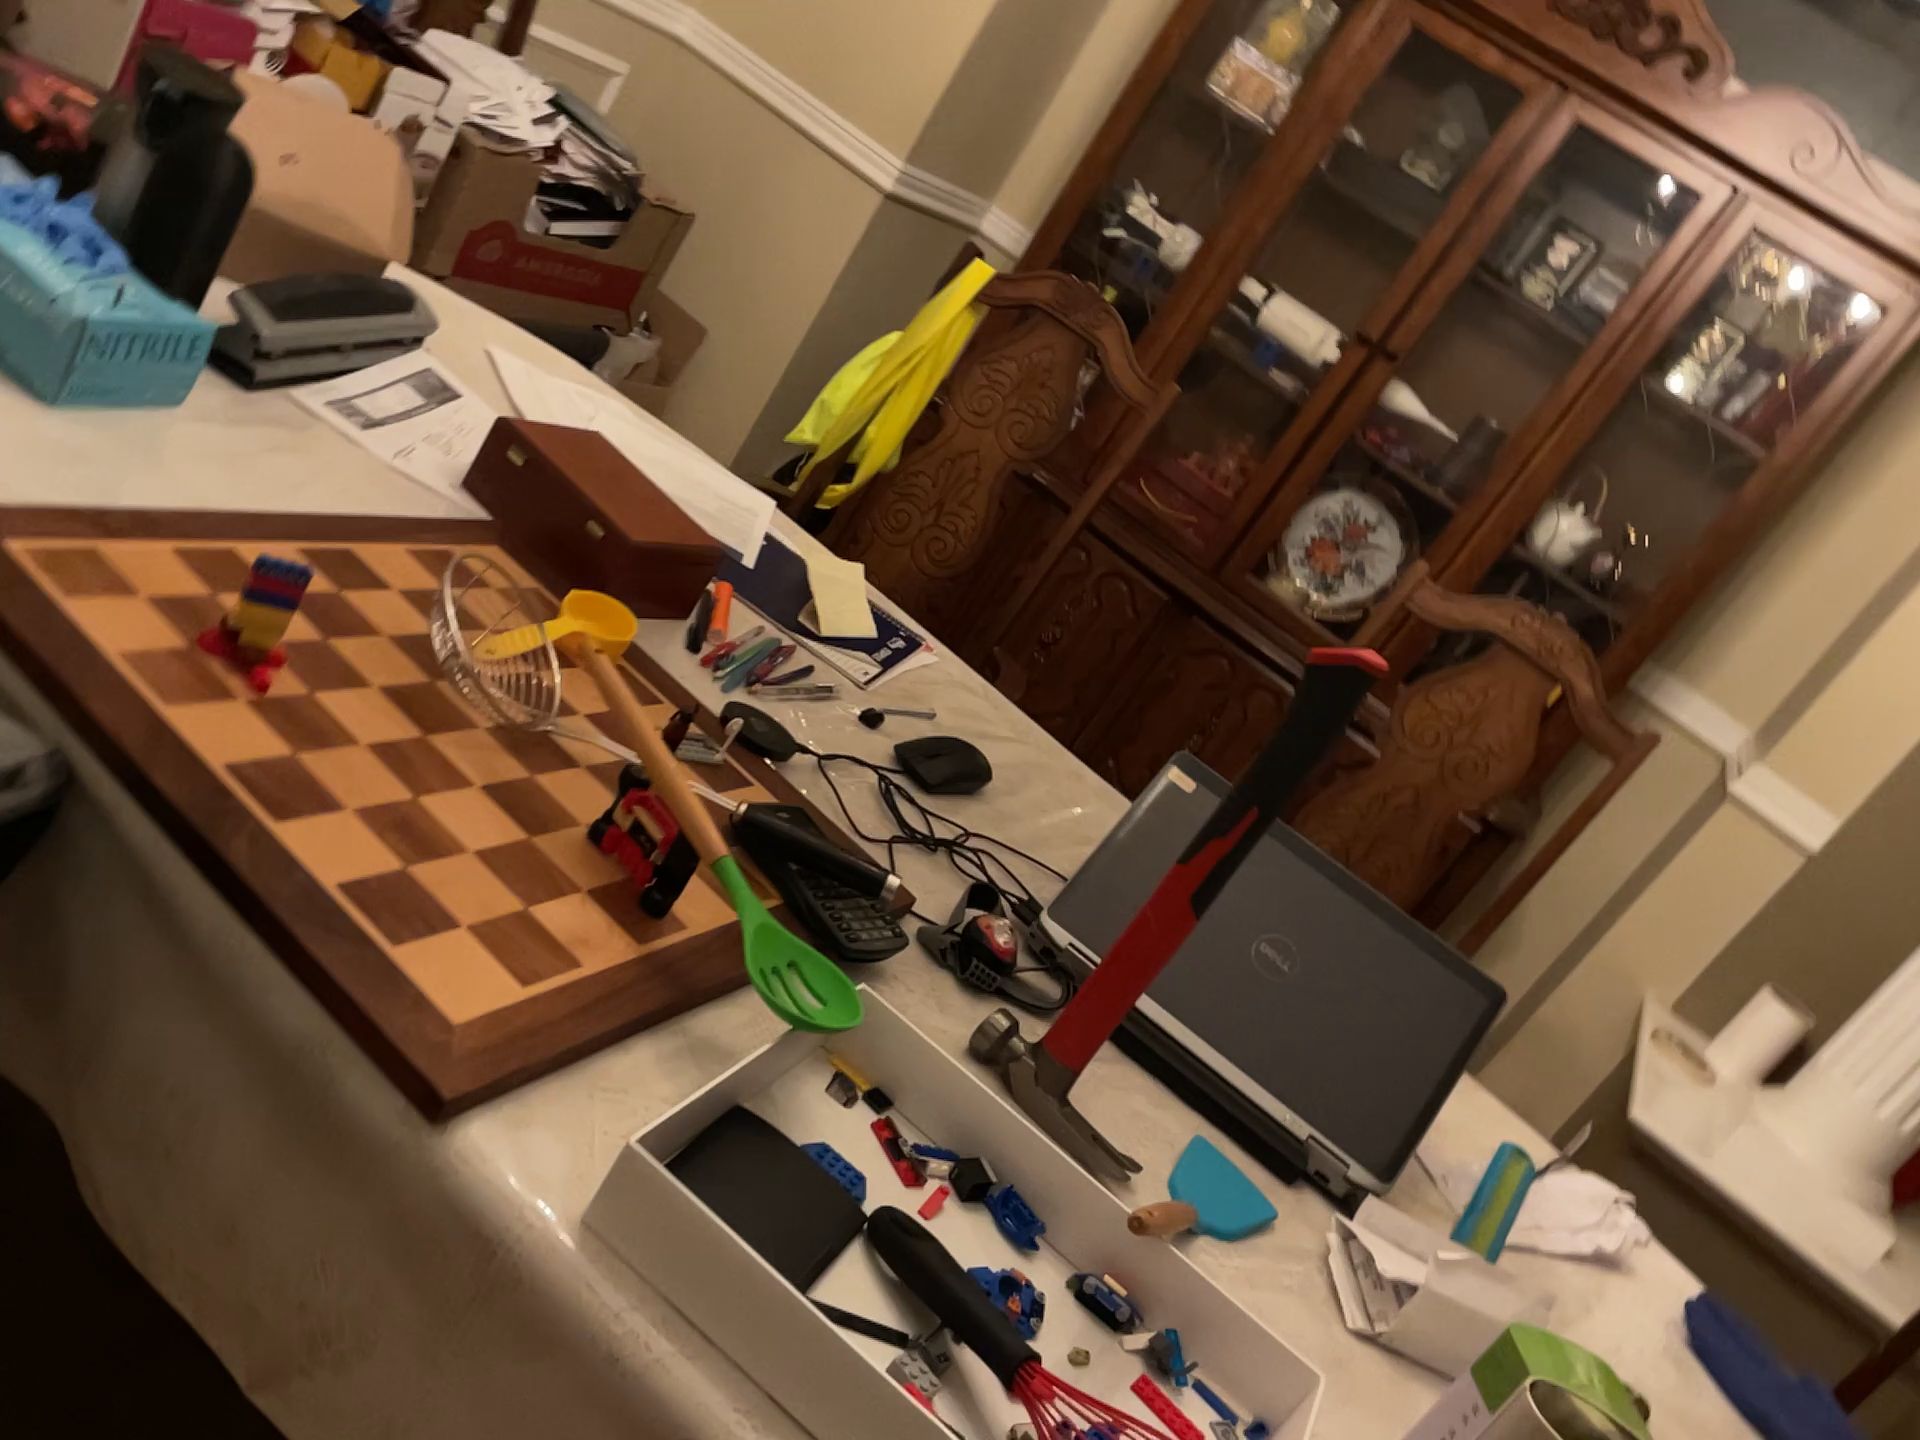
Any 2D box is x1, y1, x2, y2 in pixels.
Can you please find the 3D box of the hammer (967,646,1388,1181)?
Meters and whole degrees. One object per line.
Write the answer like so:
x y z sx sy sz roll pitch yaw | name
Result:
0.159 0.119 1.023 0.143 0.386 0.038 41 20 19 | hammer

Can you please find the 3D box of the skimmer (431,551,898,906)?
-0.193 0.010 1.080 0.363 0.090 0.127 28 18 -4 | skimmer

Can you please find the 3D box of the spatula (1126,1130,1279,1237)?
0.144 0.301 1.002 0.082 0.044 0.317 43 1 21 | spatula

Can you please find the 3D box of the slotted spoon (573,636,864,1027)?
-0.158 0.065 0.968 0.070 0.031 0.314 0 47 -55 | slotted spoon

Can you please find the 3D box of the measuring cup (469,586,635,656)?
-0.310 -0.062 1.195 0.062 0.029 0.156 43 33 15 | measuring cup

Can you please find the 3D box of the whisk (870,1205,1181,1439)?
0.043 0.333 0.781 0.296 0.073 0.073 33 -5 45 | whisk
